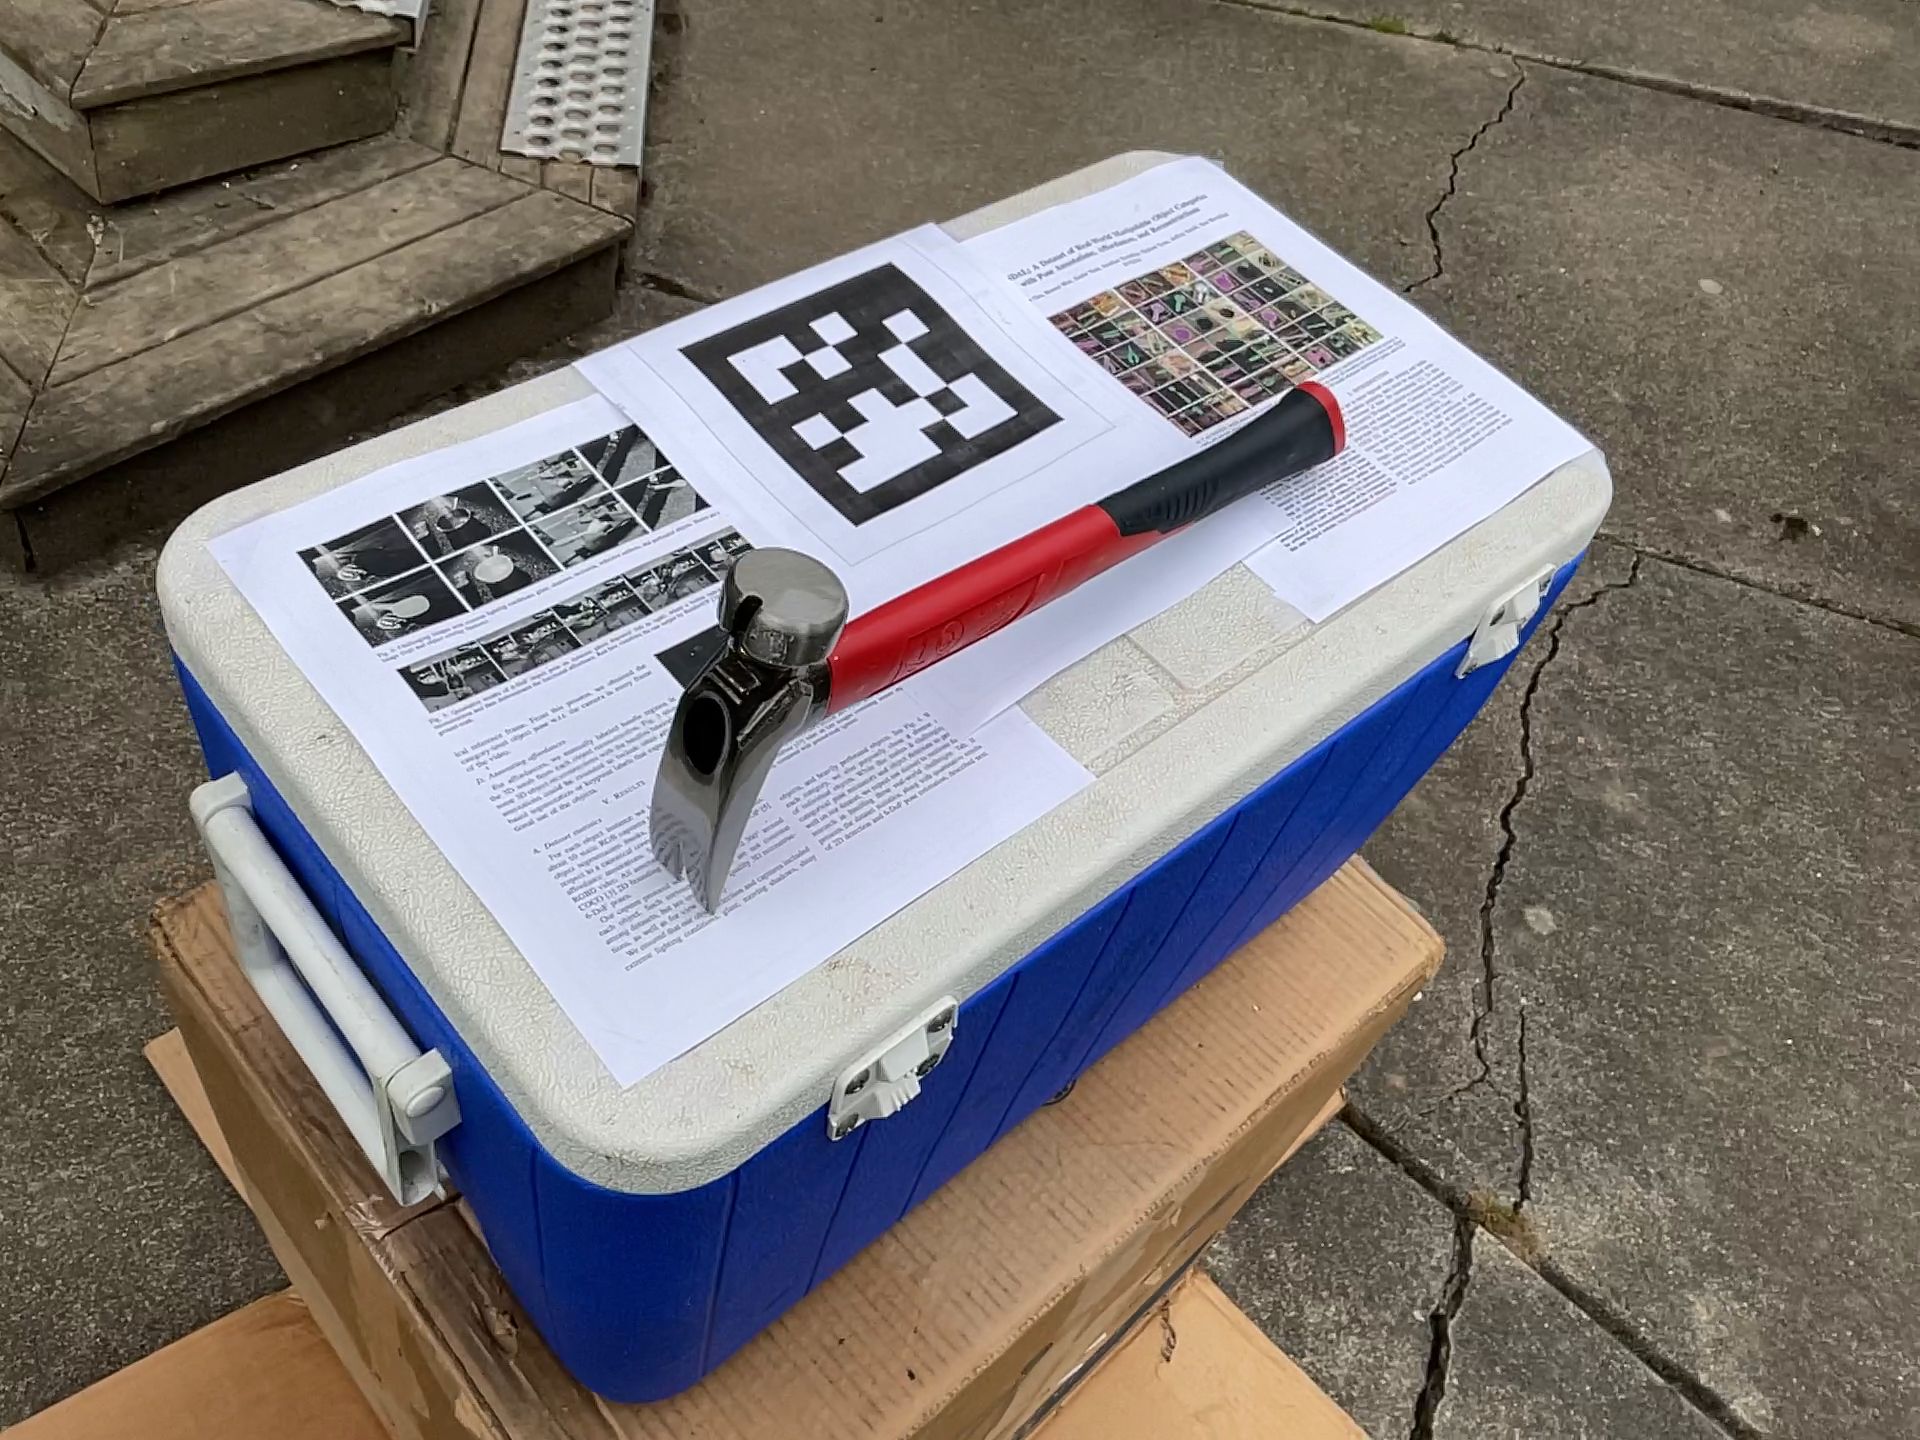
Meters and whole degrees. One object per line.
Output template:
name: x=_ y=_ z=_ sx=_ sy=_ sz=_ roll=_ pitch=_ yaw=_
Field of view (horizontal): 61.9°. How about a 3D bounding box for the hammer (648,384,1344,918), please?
hammer: x=0.038 y=-0.054 z=0.631 sx=0.038 sy=0.143 sz=0.386 roll=42 pitch=44 yaw=19
